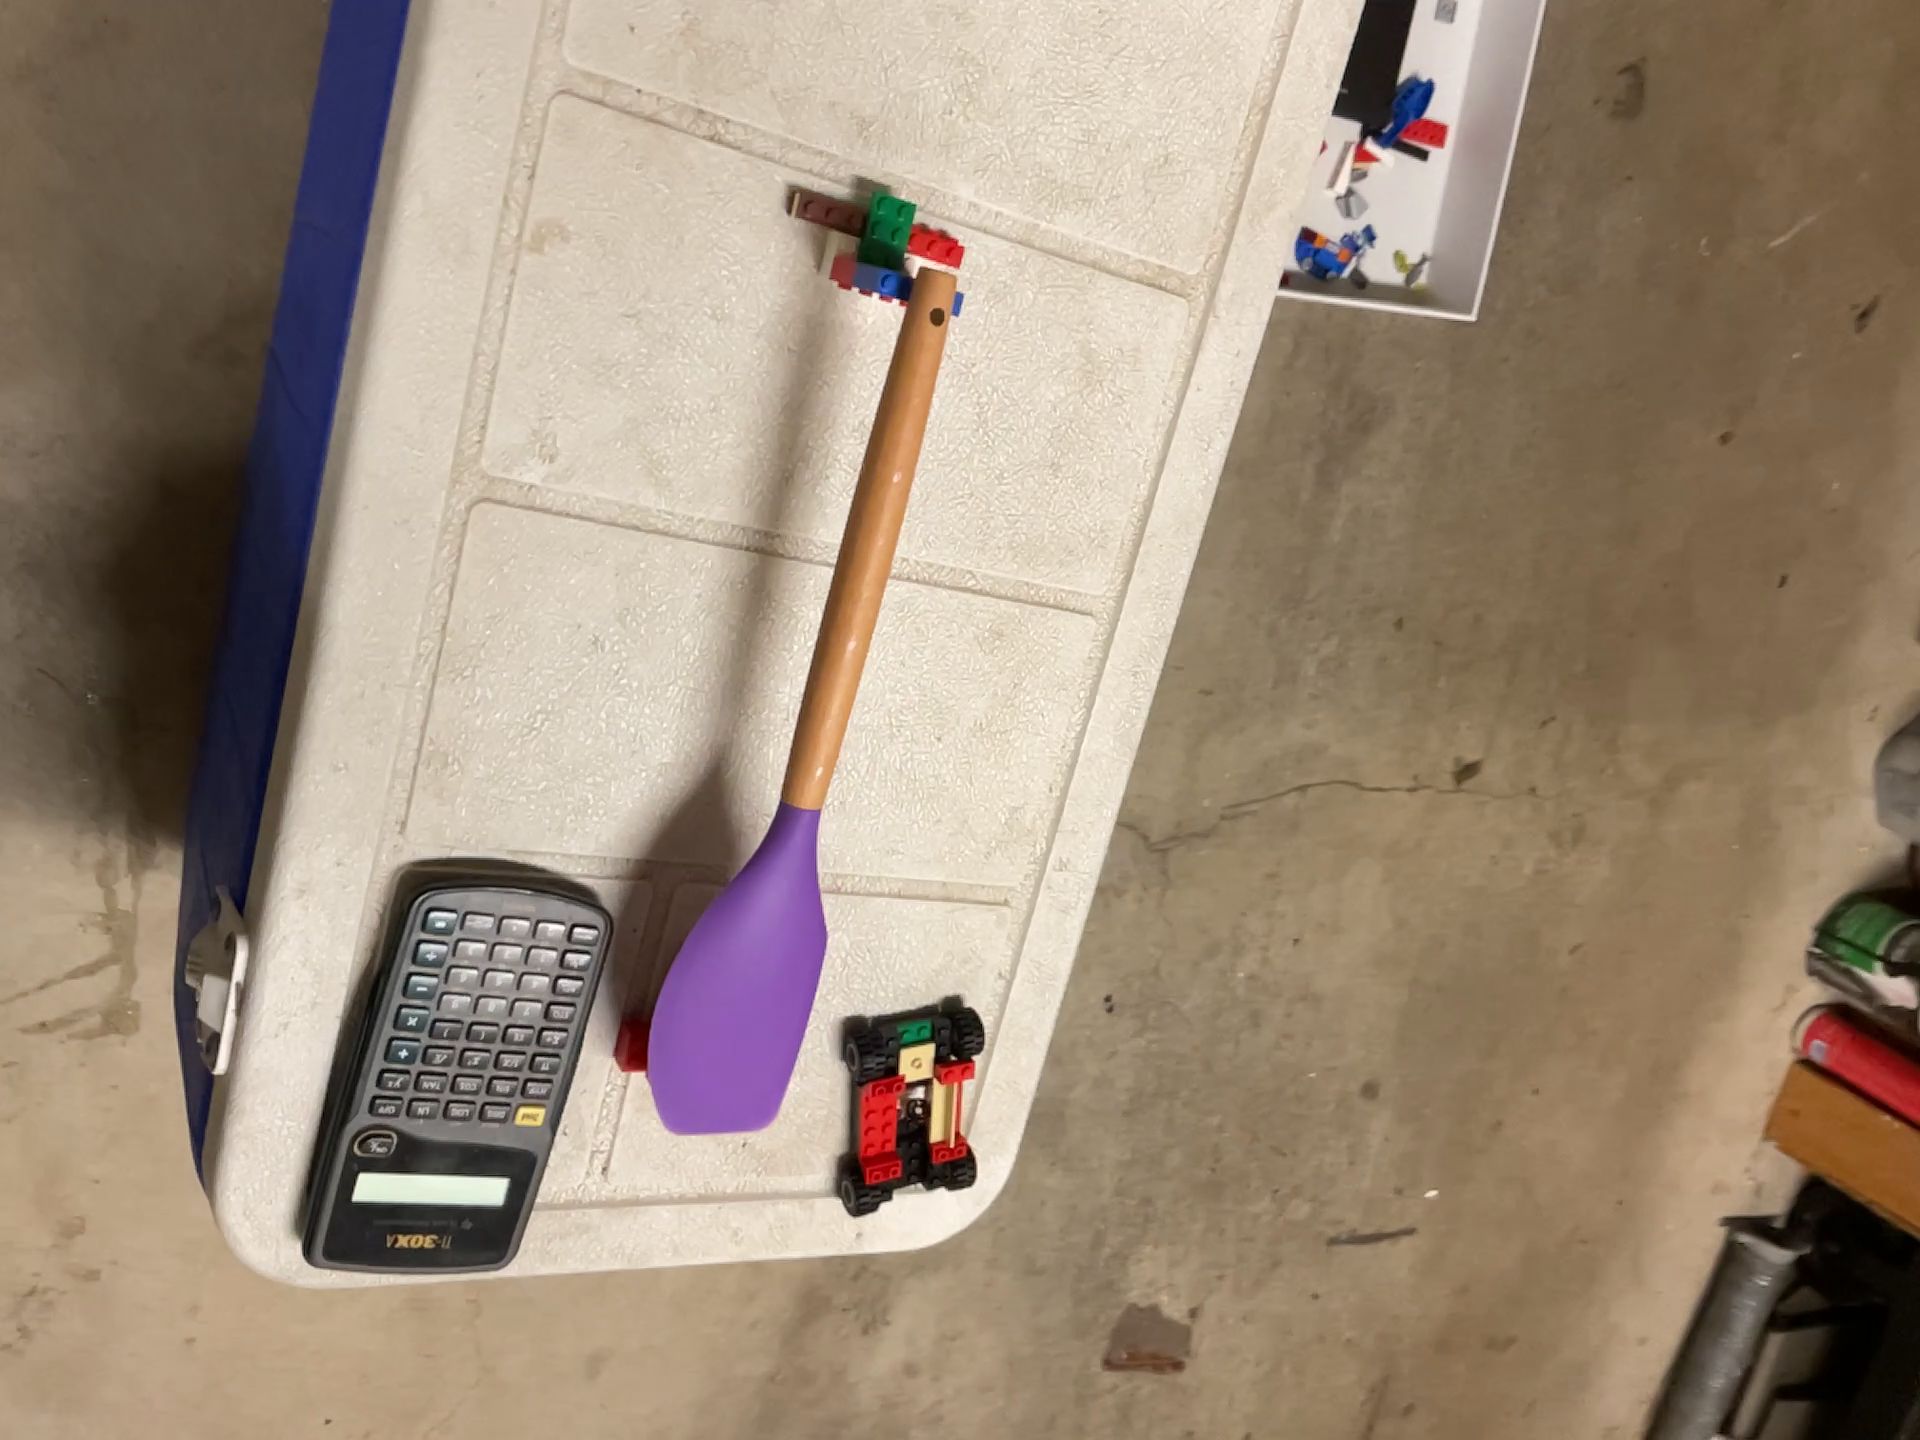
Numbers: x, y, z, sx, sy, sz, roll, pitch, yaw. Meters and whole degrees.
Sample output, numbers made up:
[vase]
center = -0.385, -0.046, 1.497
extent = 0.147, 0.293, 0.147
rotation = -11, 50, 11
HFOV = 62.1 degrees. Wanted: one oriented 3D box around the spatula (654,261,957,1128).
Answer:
[spatula]
center = -0.050, 0.002, 0.547
extent = 0.060, 0.018, 0.315
rotation = 8, 106, -32
